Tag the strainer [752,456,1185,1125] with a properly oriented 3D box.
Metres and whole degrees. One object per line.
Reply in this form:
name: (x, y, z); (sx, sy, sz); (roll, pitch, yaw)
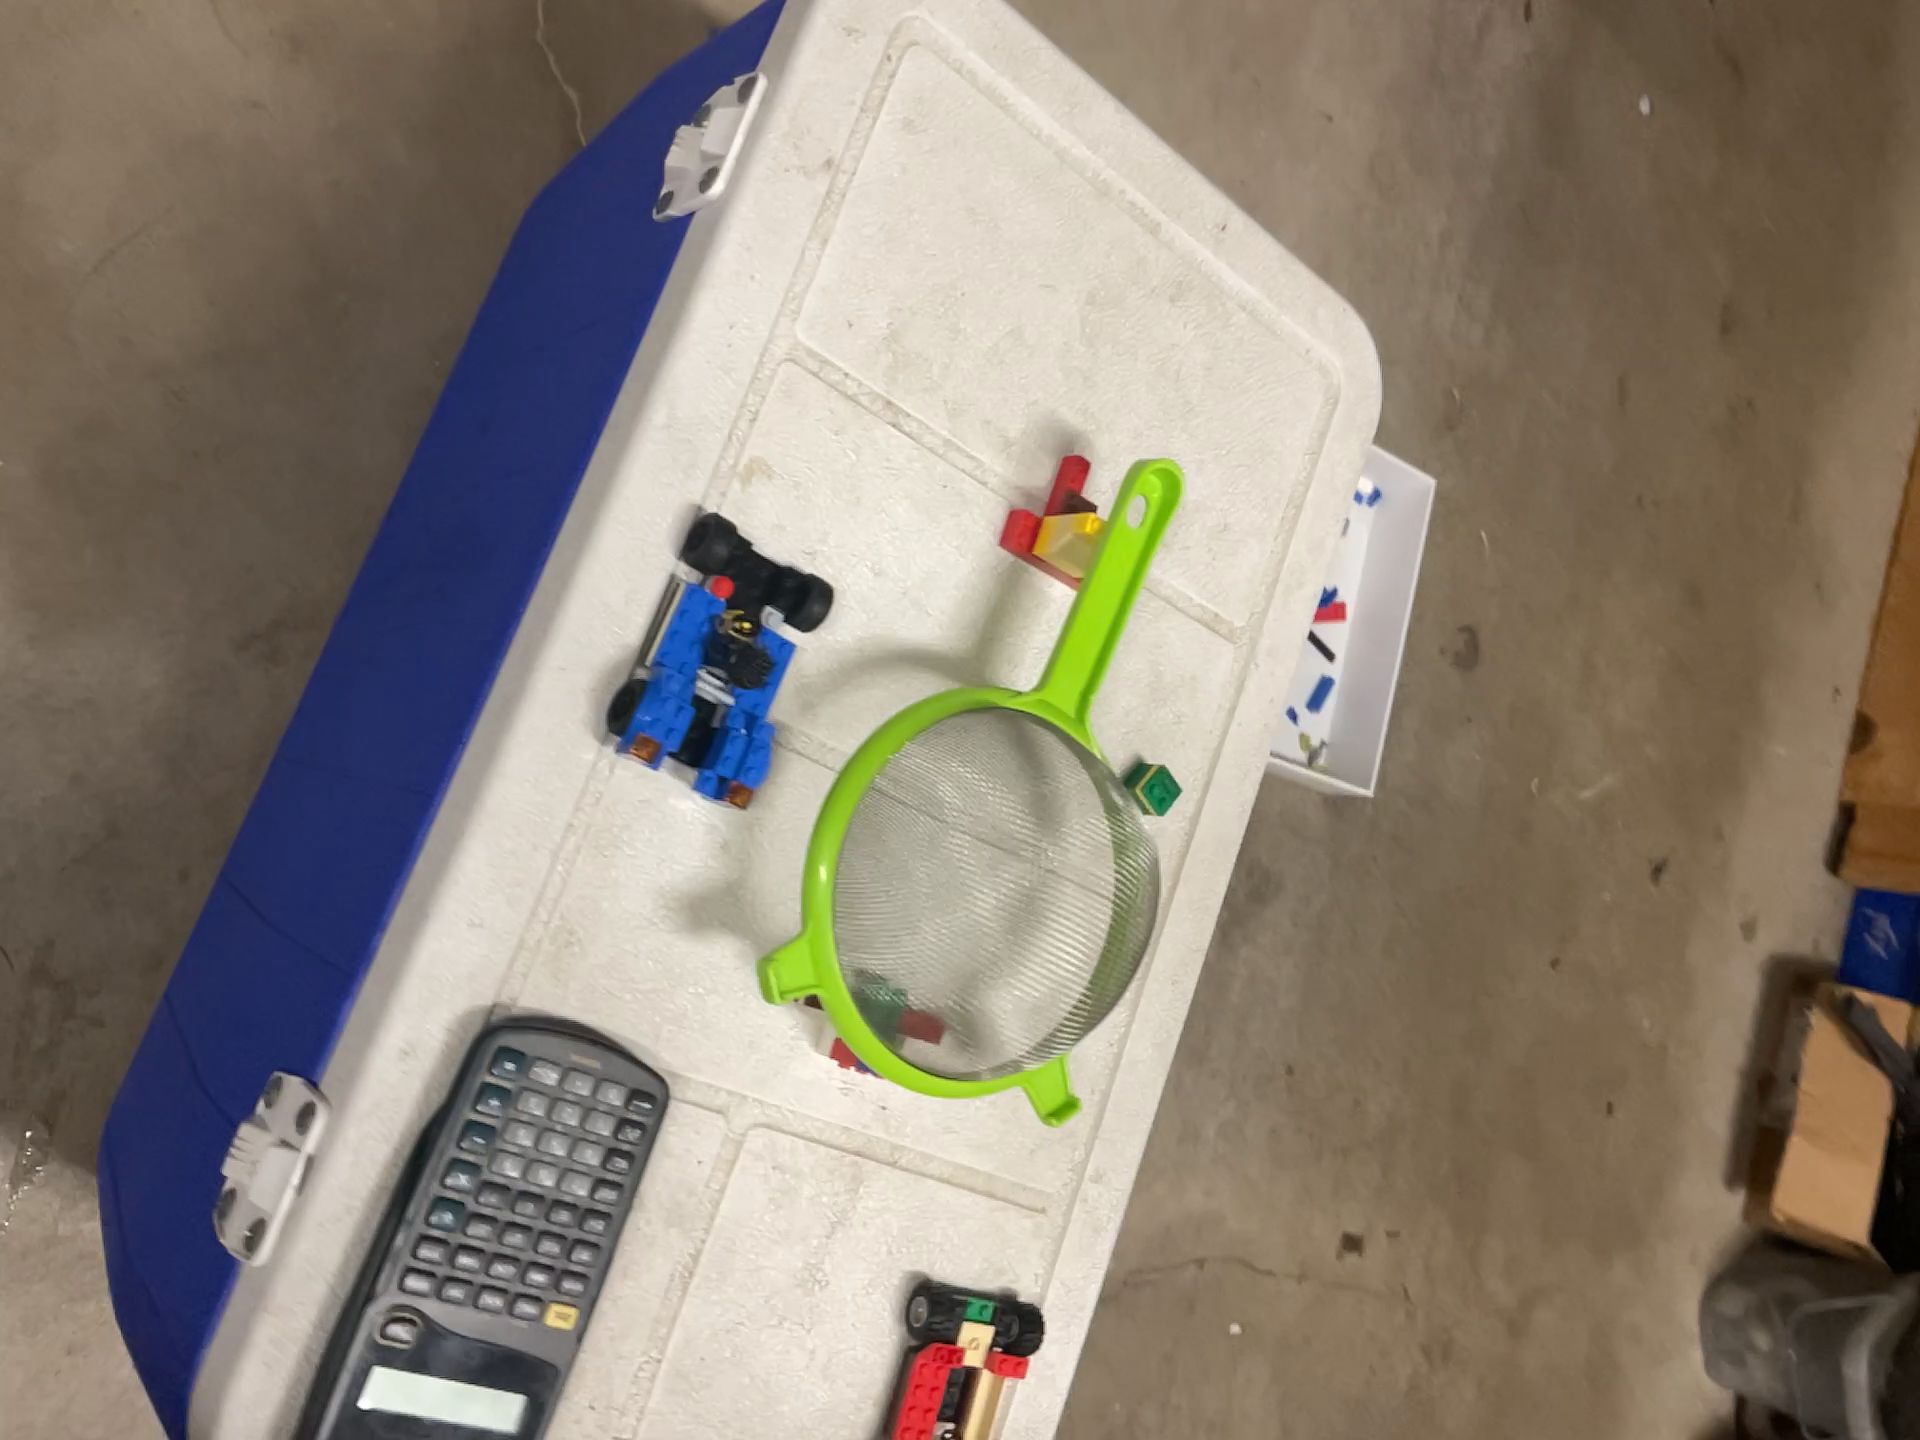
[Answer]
strainer: (0.043, 0.016, 0.576); (0.151, 0.069, 0.256); (31, 76, -31)
